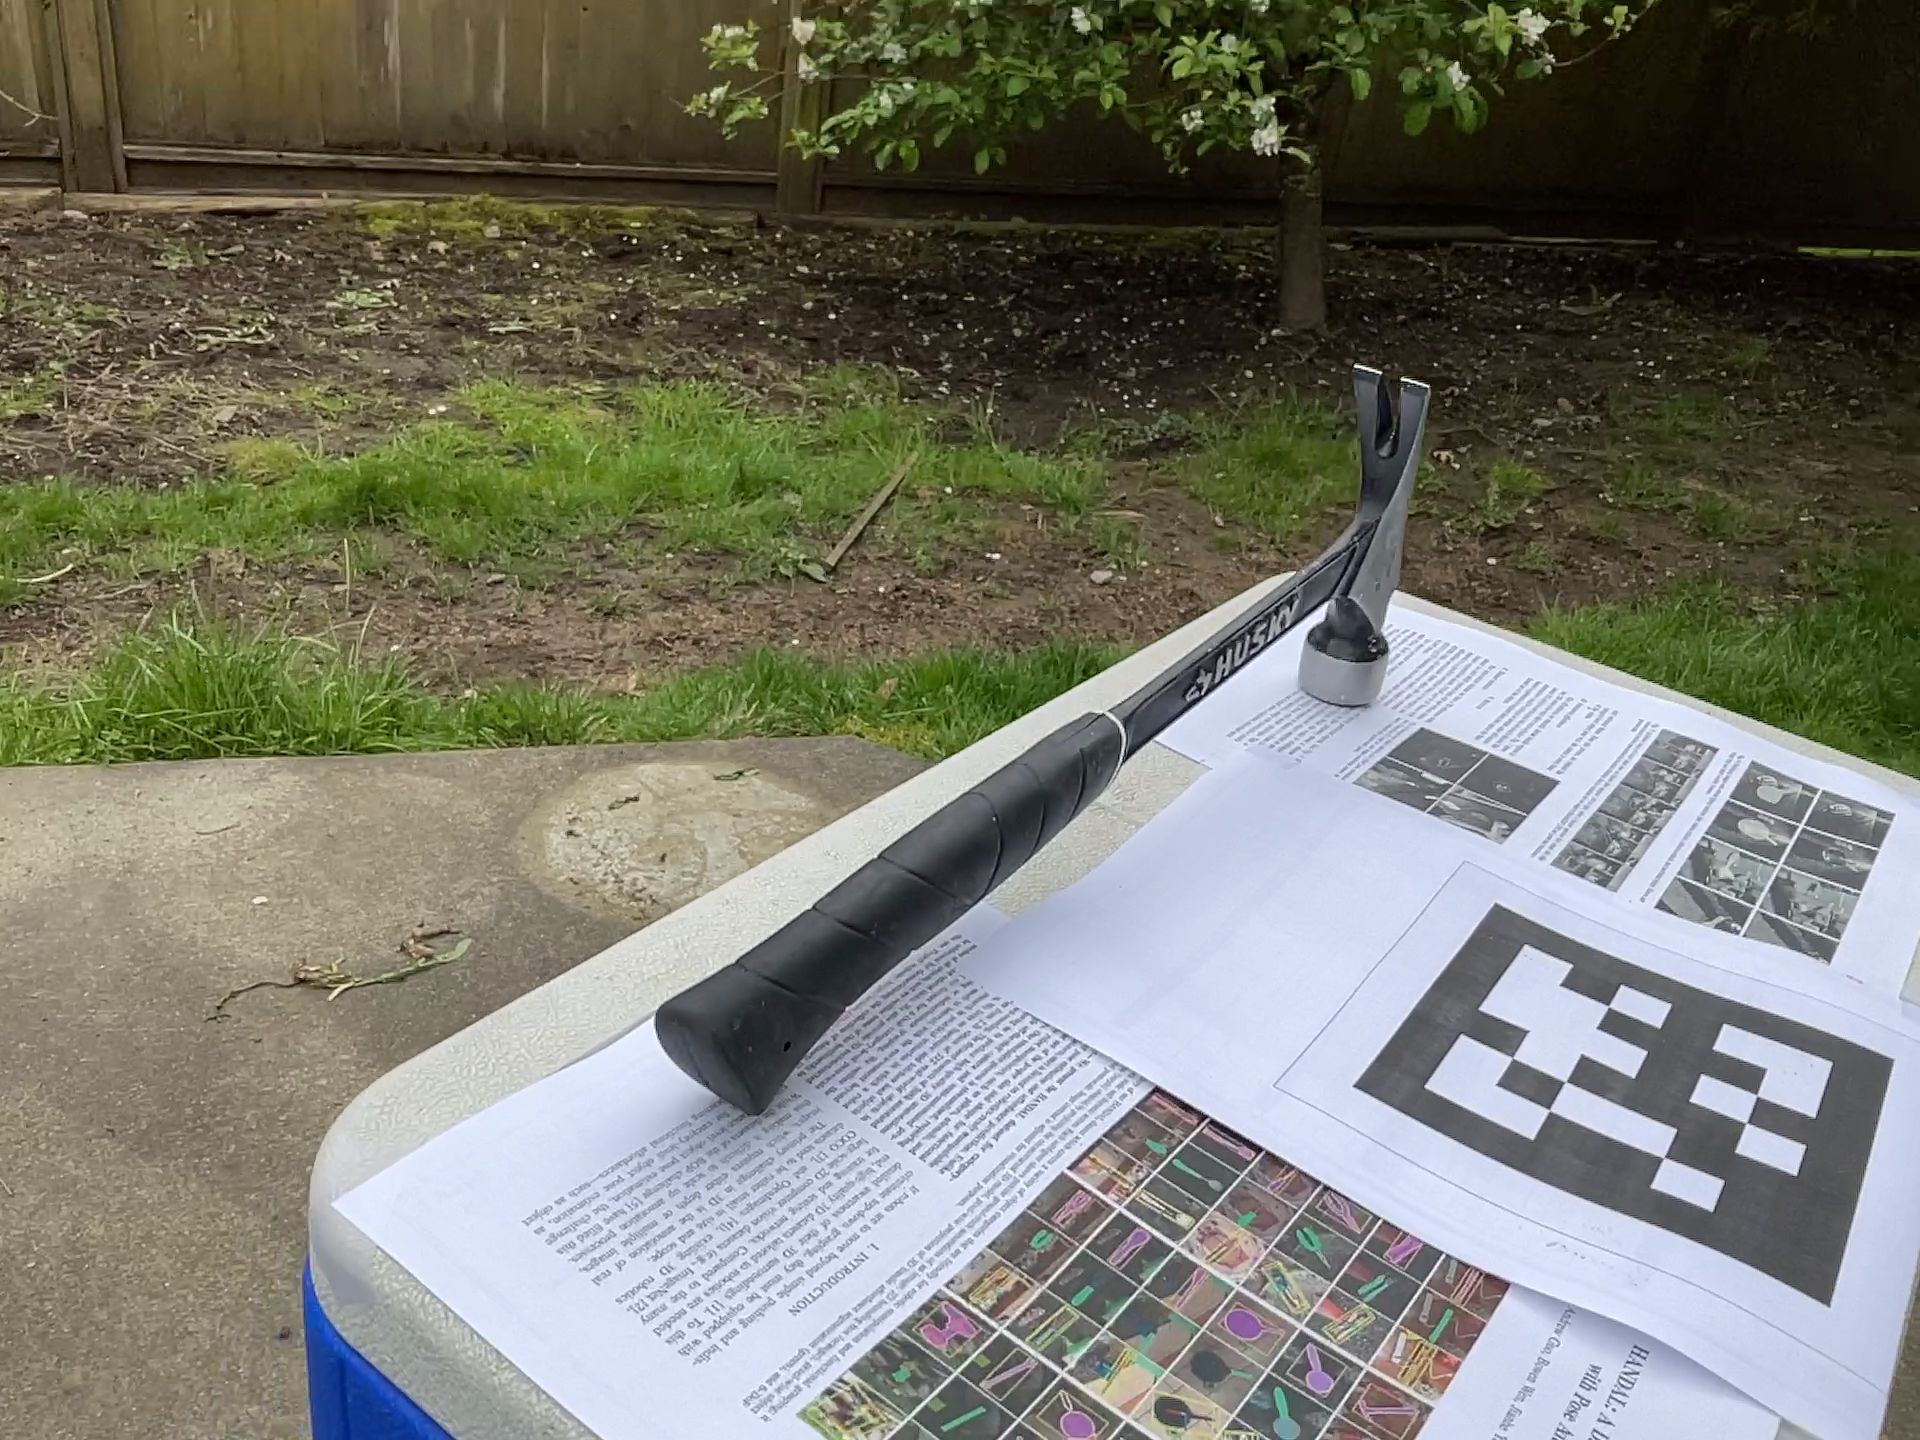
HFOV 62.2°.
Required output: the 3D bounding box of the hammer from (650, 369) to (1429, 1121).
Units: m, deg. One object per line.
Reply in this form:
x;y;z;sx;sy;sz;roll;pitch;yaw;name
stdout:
0.056;0.001;0.529;0.036;0.149;0.409;25;38;29;hammer
